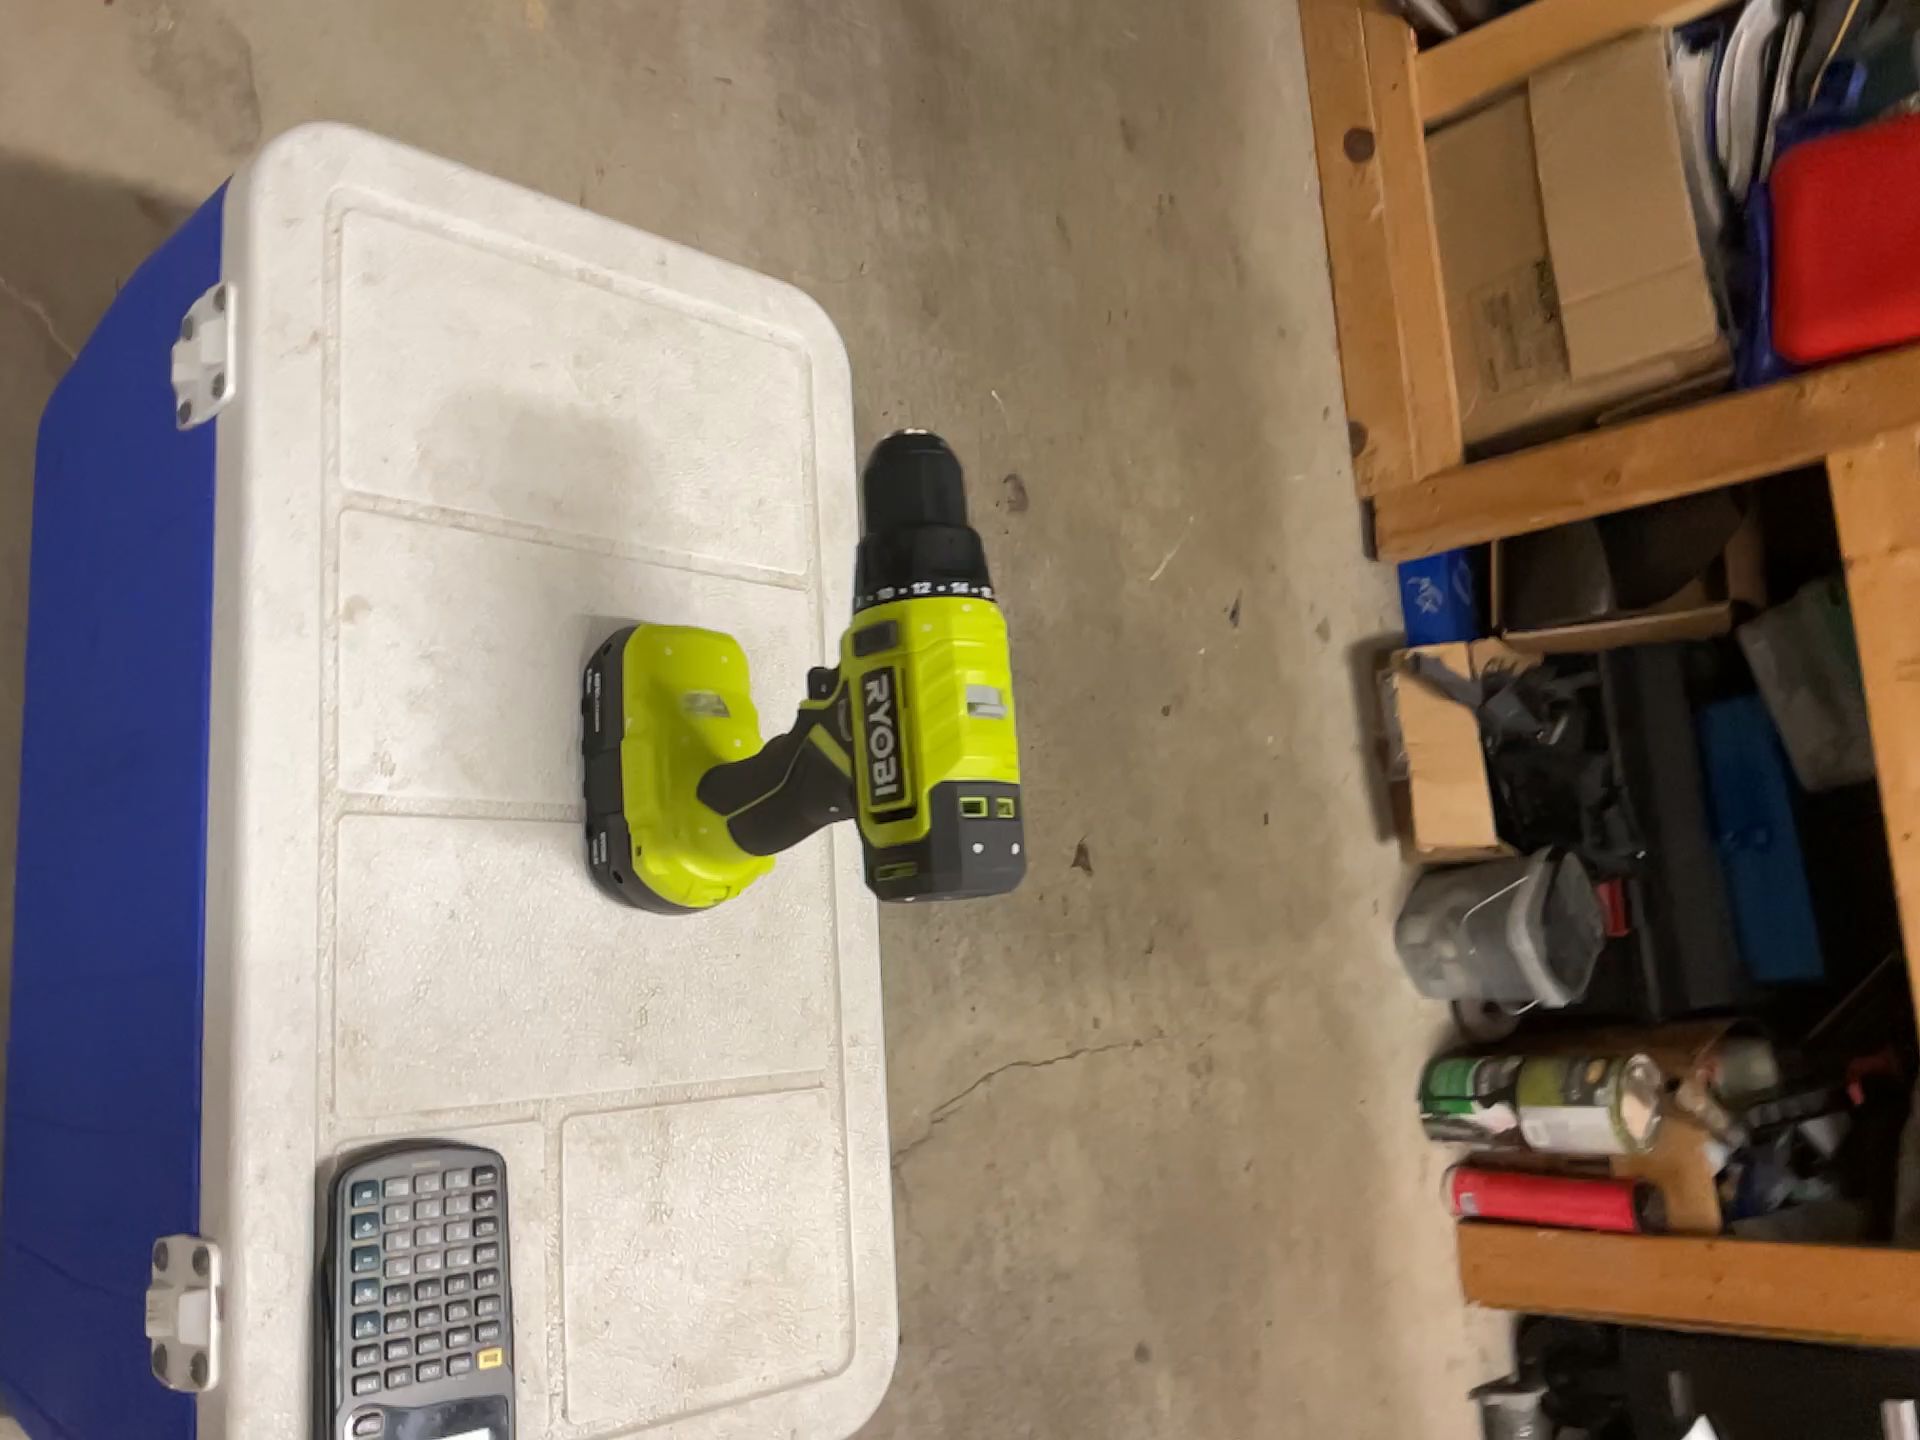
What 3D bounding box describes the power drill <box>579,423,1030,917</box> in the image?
[{"bbox_3d":[-0.070,-0.009,0.688,0.080,0.228,0.191,5,75,-46],"label":"power drill"}]
